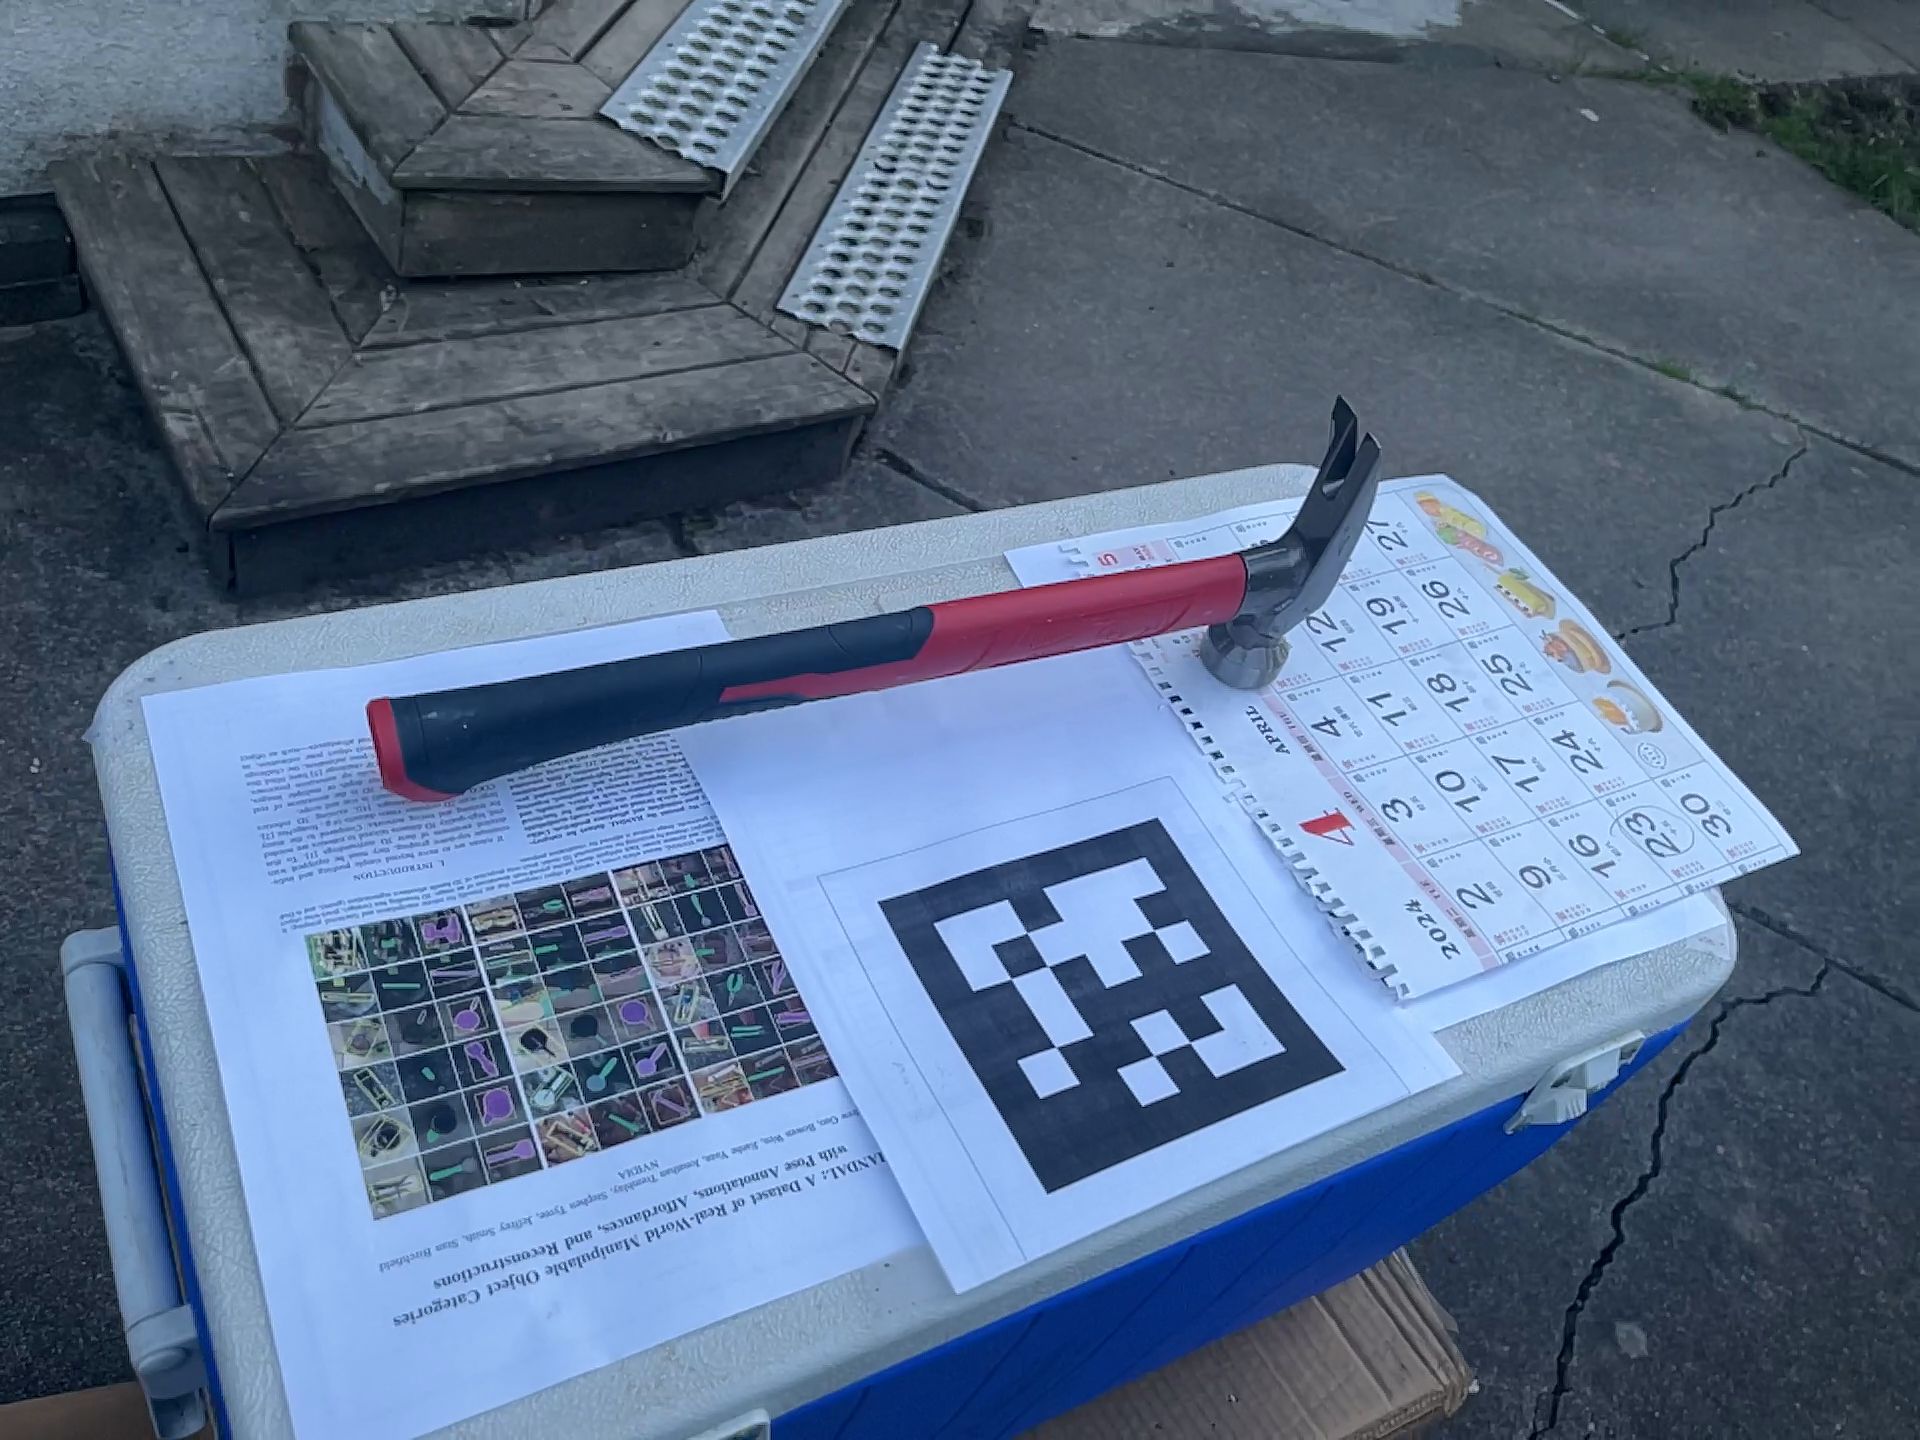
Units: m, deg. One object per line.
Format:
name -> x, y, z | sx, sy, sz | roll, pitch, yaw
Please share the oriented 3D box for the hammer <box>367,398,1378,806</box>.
hammer -> -0.021, -0.037, 0.586 | 0.386, 0.143, 0.038 | -12, 54, -21
